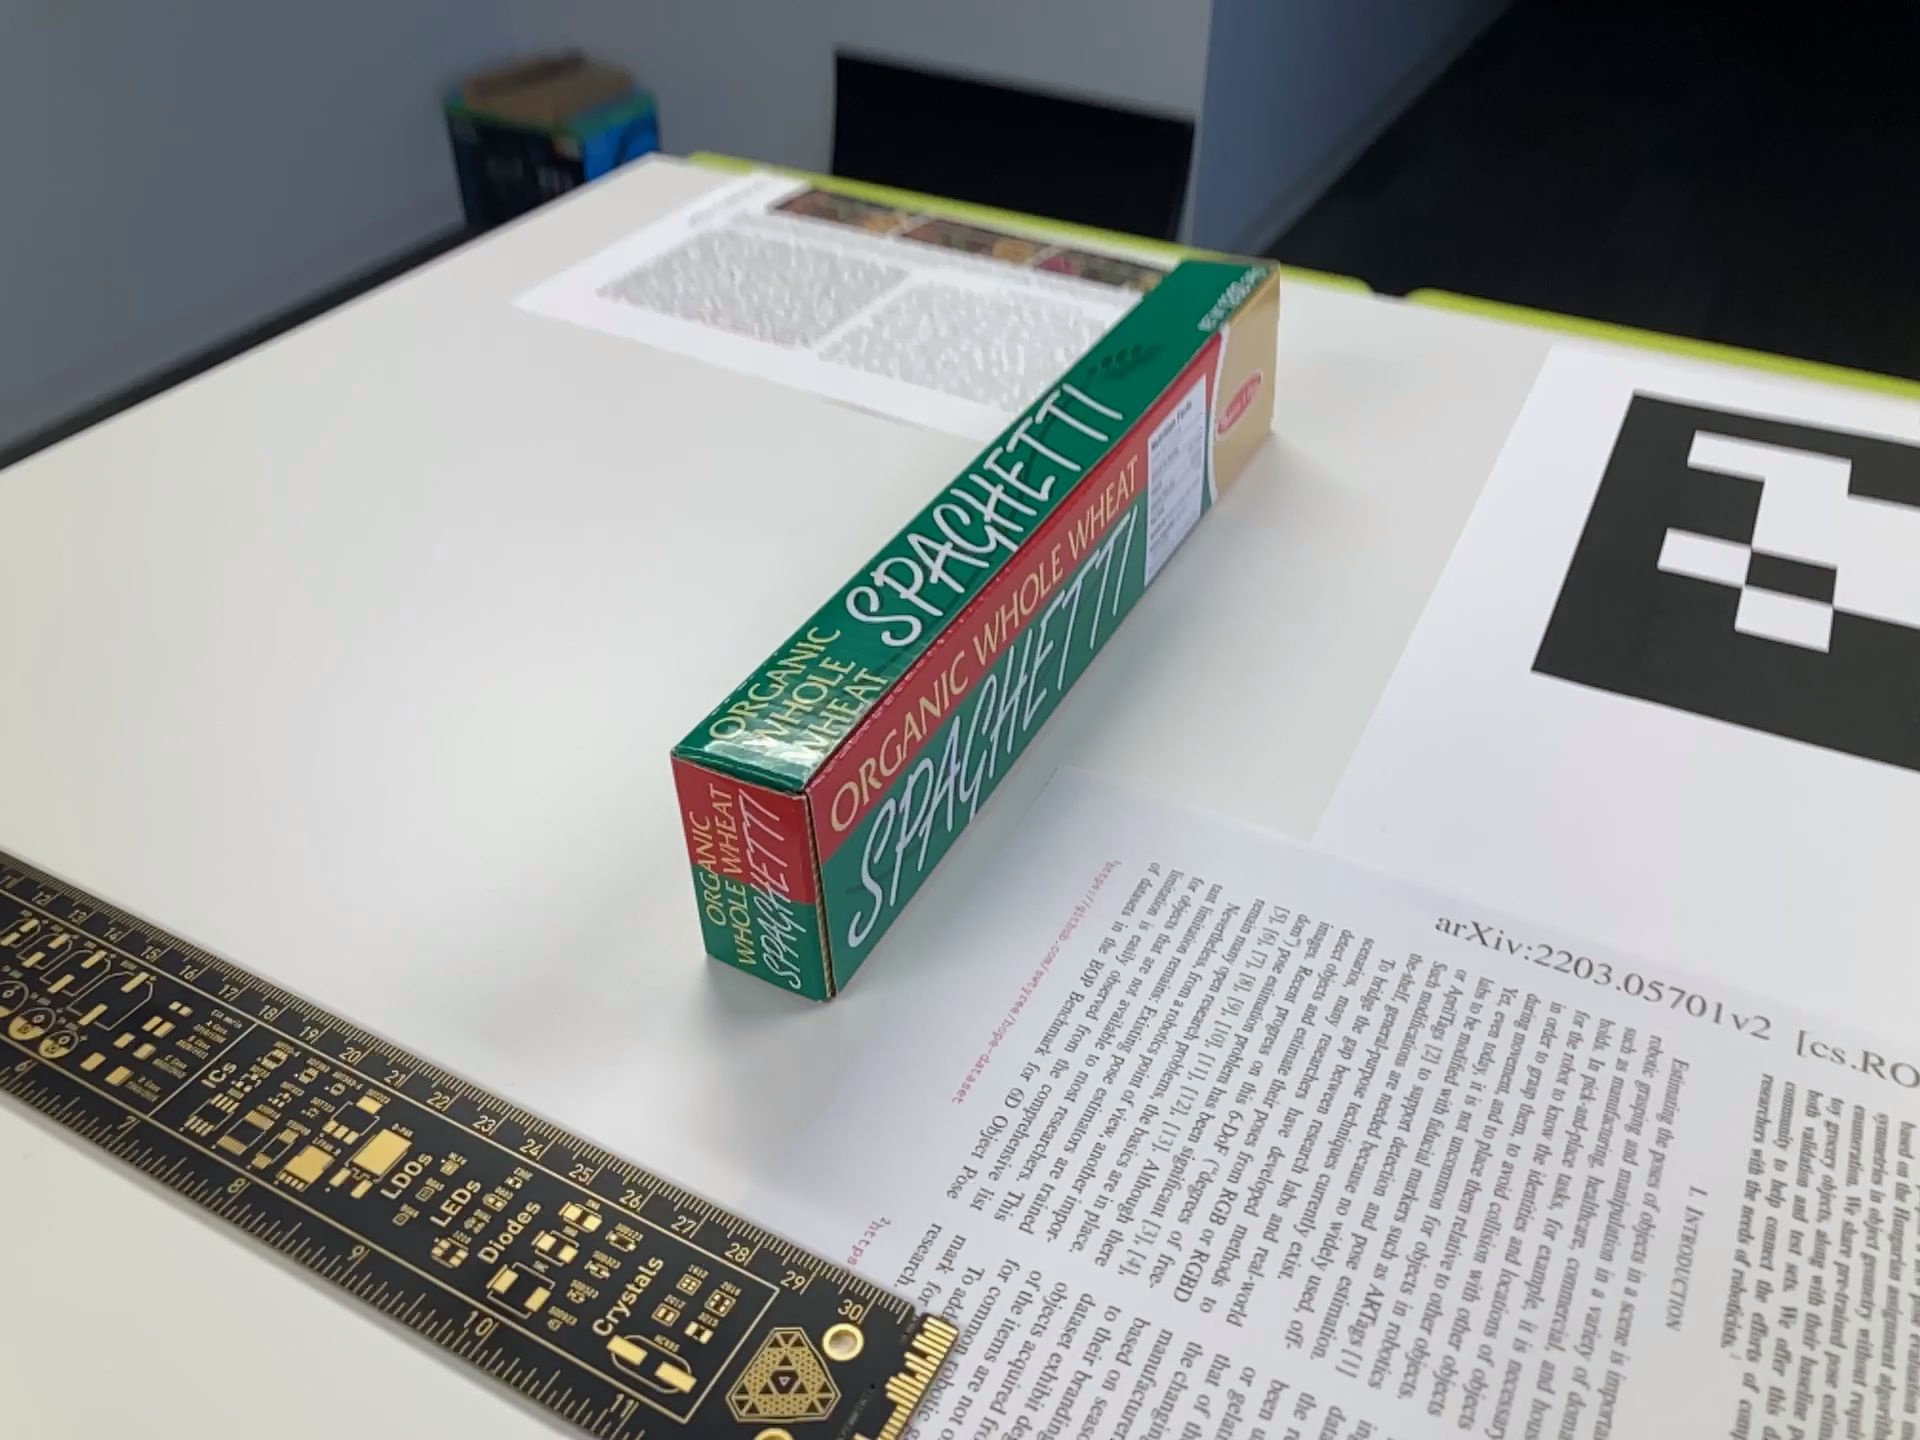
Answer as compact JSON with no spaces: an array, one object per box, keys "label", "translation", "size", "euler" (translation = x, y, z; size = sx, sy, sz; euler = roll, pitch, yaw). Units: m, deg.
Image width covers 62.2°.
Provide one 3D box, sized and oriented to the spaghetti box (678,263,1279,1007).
[{"label":"spaghetti box","translation":[0.020,-0.038,0.363],"size":[0.028,0.050,0.250],"euler":[14,40,24]}]
